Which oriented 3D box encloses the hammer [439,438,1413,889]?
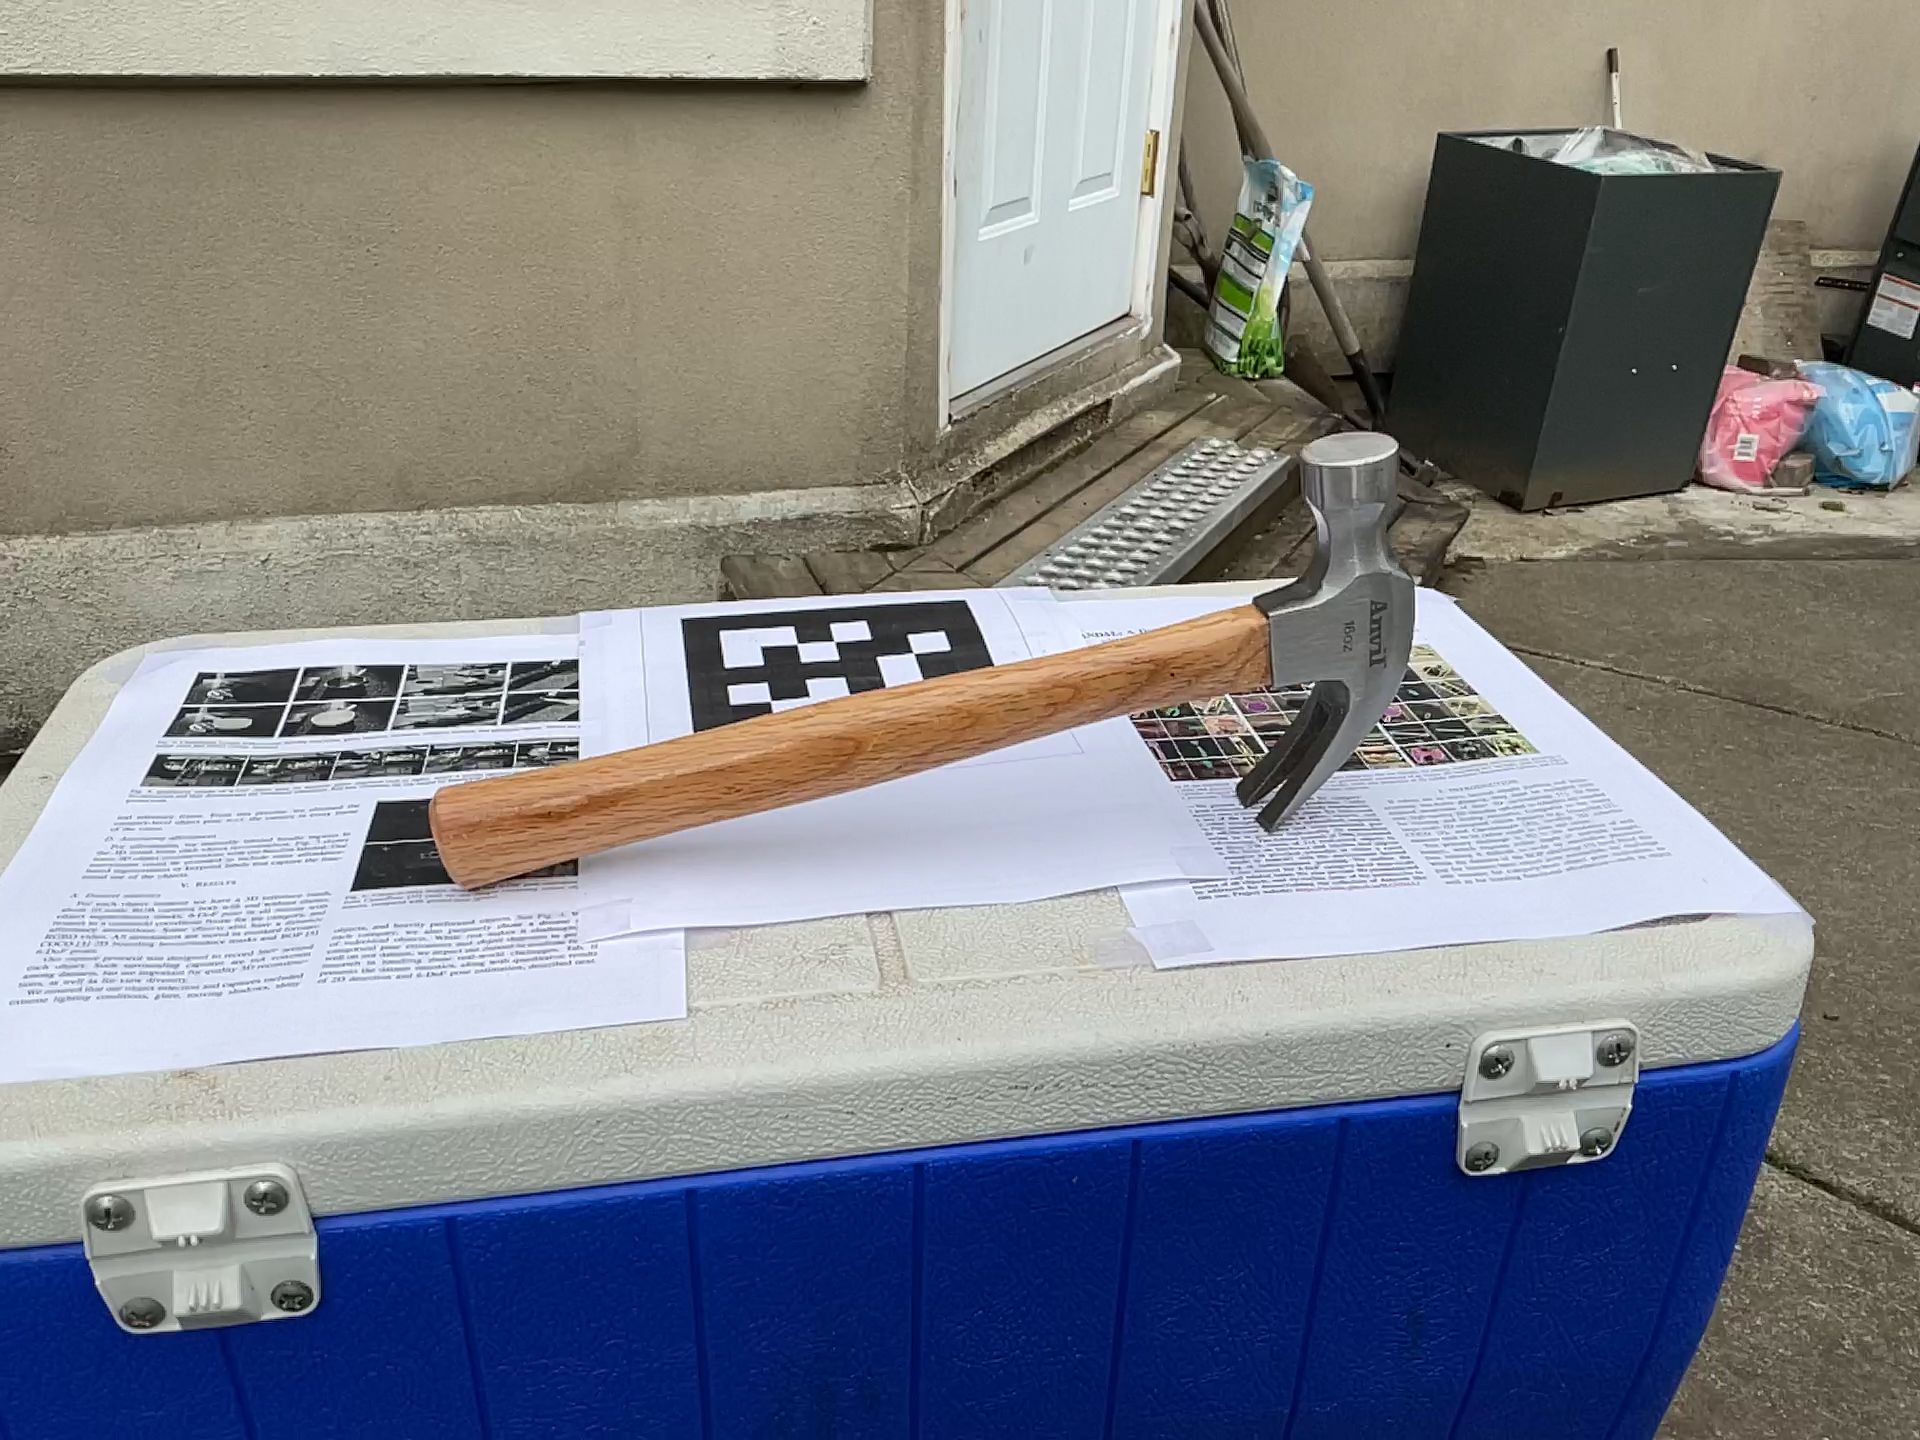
[{"bbox_3d":[-0.006,0.003,0.541,0.331,0.130,0.031,-14,27,-6],"label":"hammer"}]
